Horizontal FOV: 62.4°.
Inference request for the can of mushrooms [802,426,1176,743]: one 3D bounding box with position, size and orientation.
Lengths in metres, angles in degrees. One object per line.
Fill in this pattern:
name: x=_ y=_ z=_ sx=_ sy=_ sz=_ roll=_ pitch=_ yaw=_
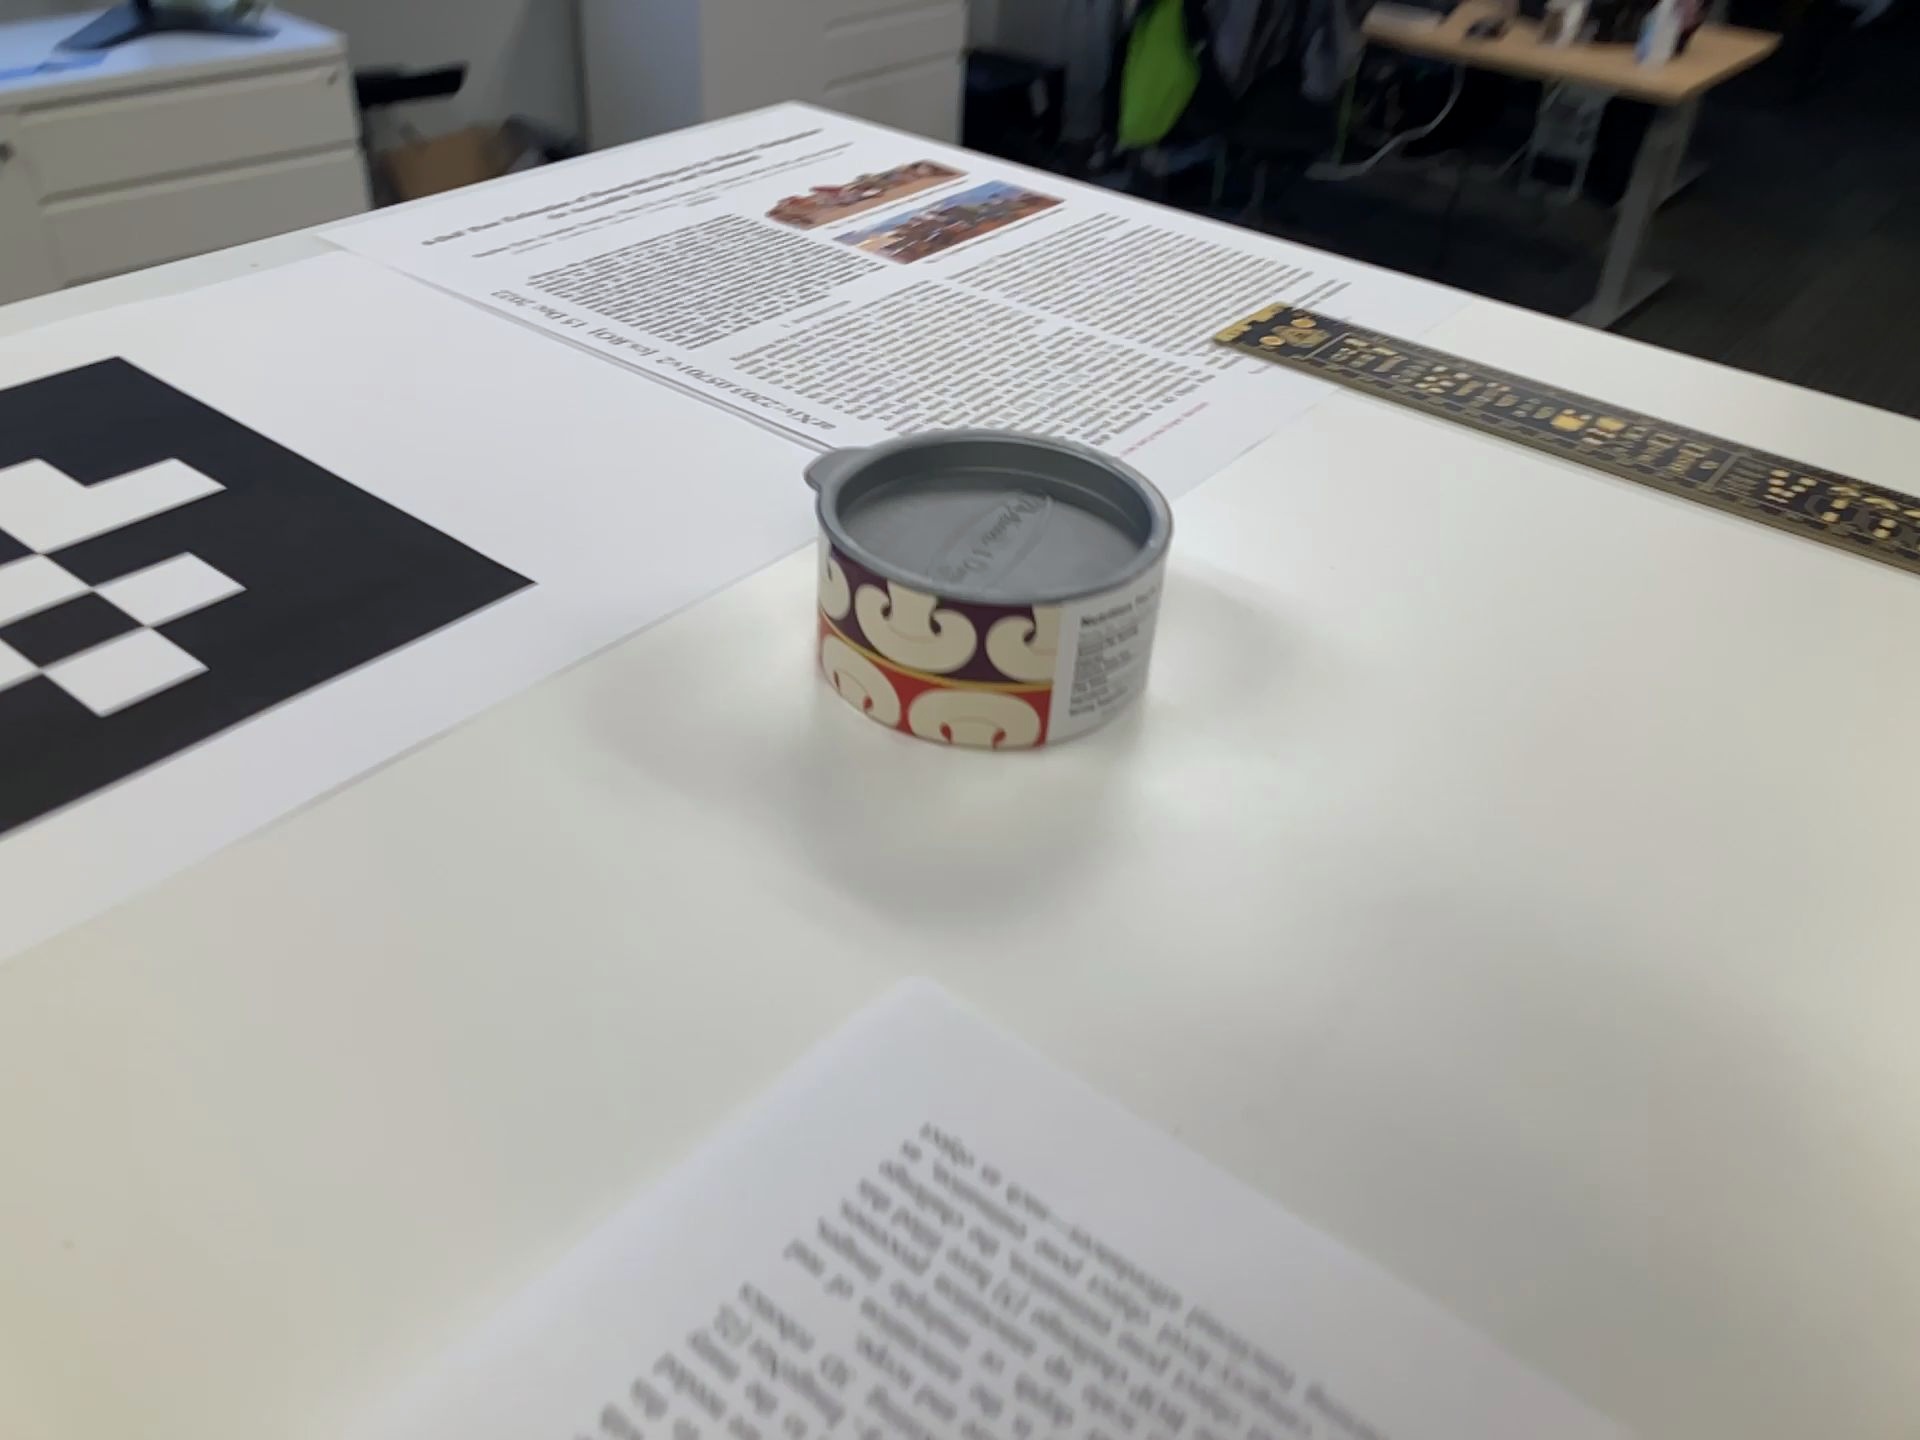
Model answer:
can of mushrooms: x=0.004 y=-0.028 z=0.301 sx=0.071 sy=0.033 sz=0.071 roll=2 pitch=36 yaw=-2
